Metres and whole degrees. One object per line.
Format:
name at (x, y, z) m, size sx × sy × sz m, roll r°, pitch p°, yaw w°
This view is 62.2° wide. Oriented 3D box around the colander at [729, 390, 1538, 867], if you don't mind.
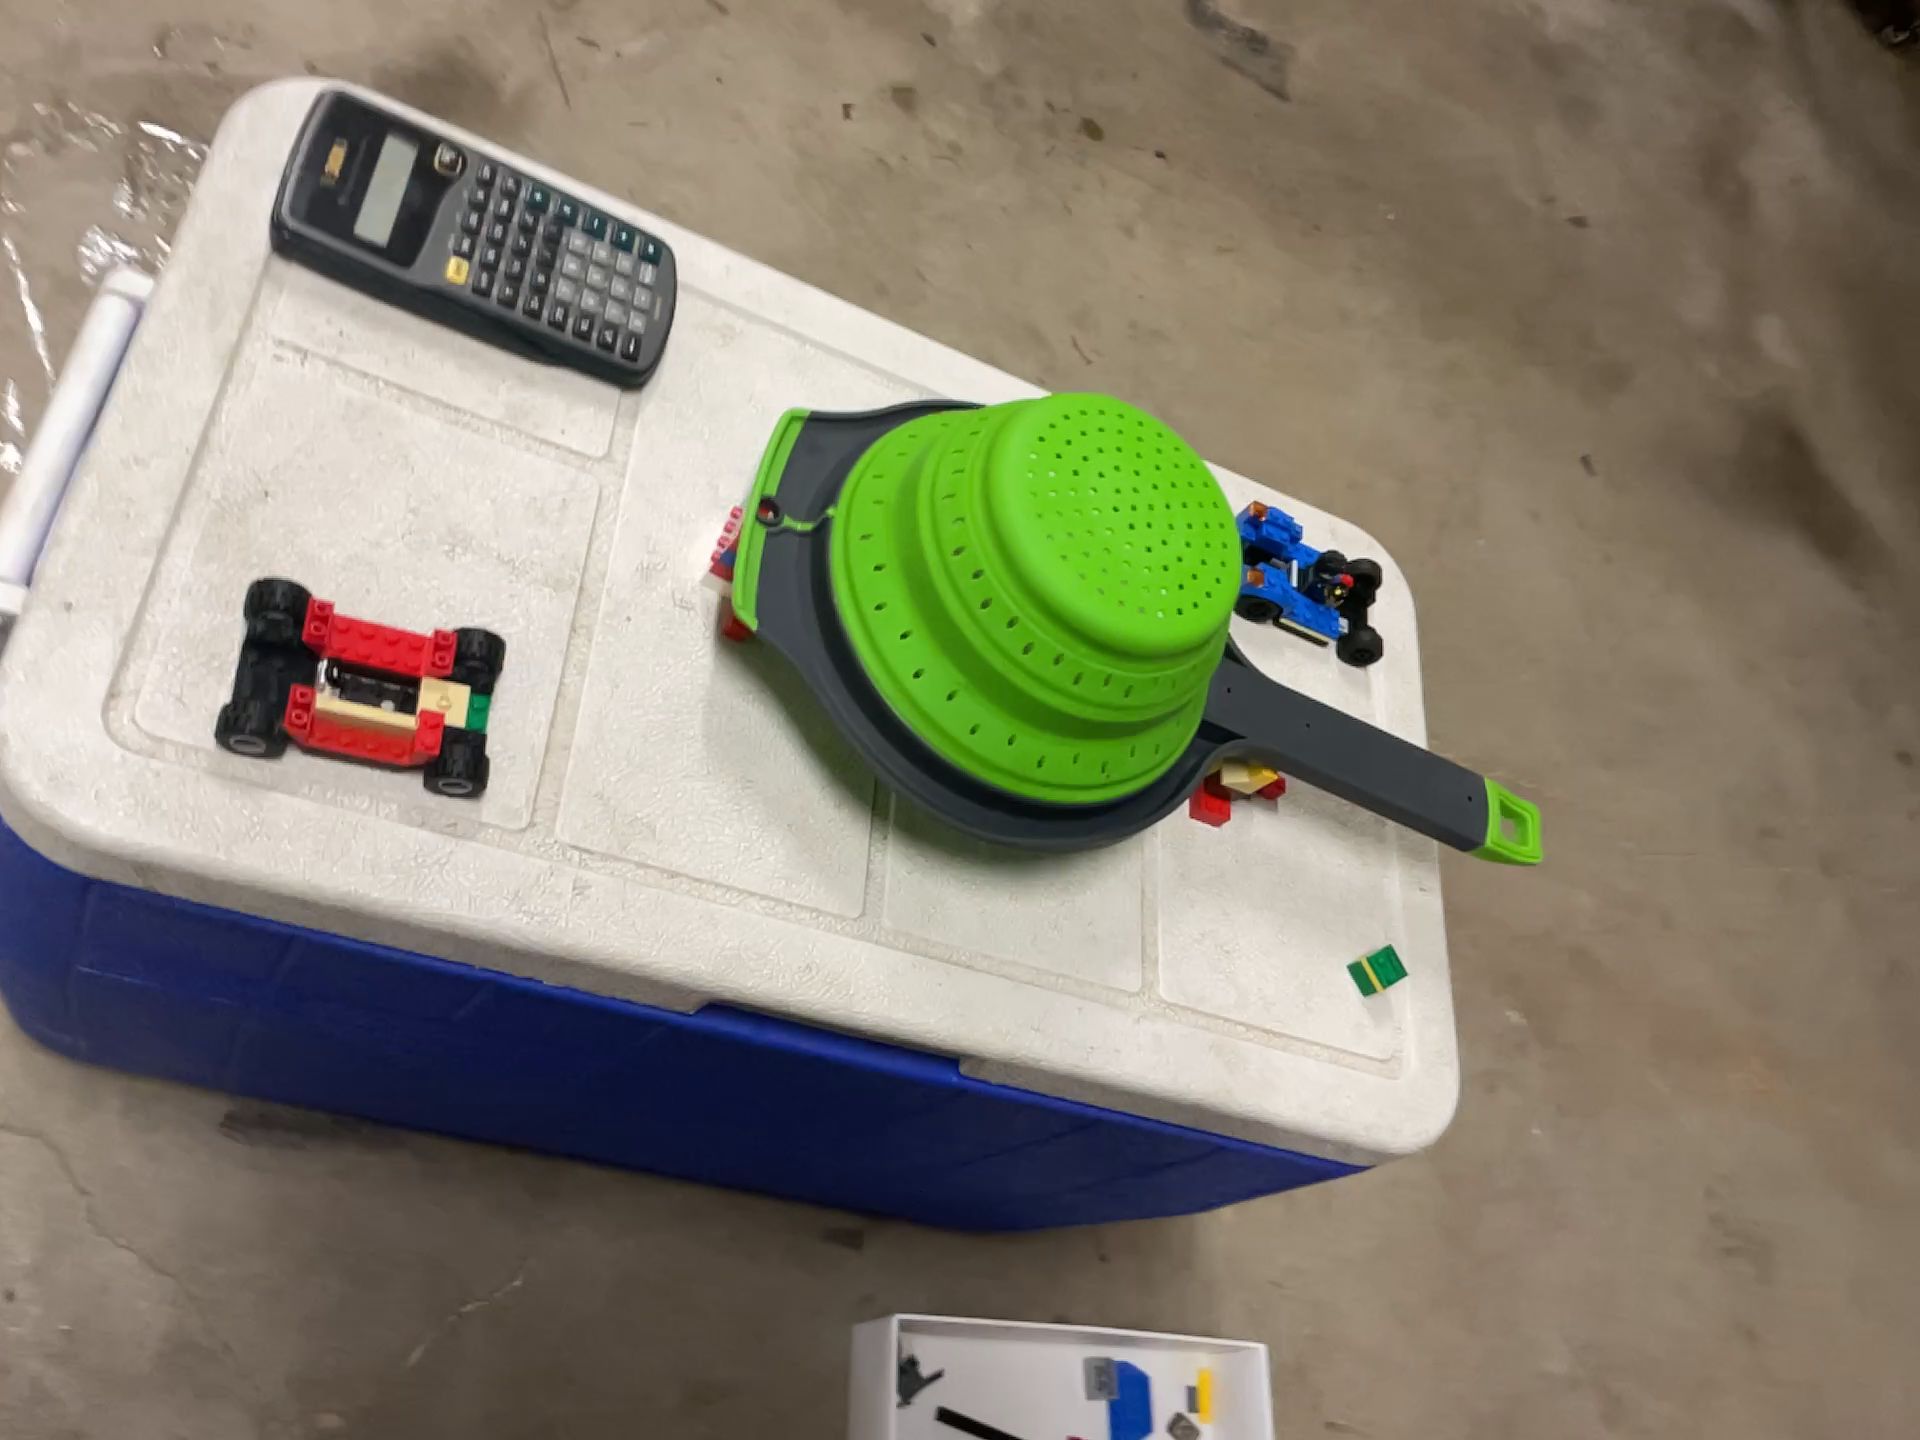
colander at (0.110, -0.029, 0.641) m, size 0.397 × 0.094 × 0.205 m, roll 22°, pitch 57°, yaw -21°
